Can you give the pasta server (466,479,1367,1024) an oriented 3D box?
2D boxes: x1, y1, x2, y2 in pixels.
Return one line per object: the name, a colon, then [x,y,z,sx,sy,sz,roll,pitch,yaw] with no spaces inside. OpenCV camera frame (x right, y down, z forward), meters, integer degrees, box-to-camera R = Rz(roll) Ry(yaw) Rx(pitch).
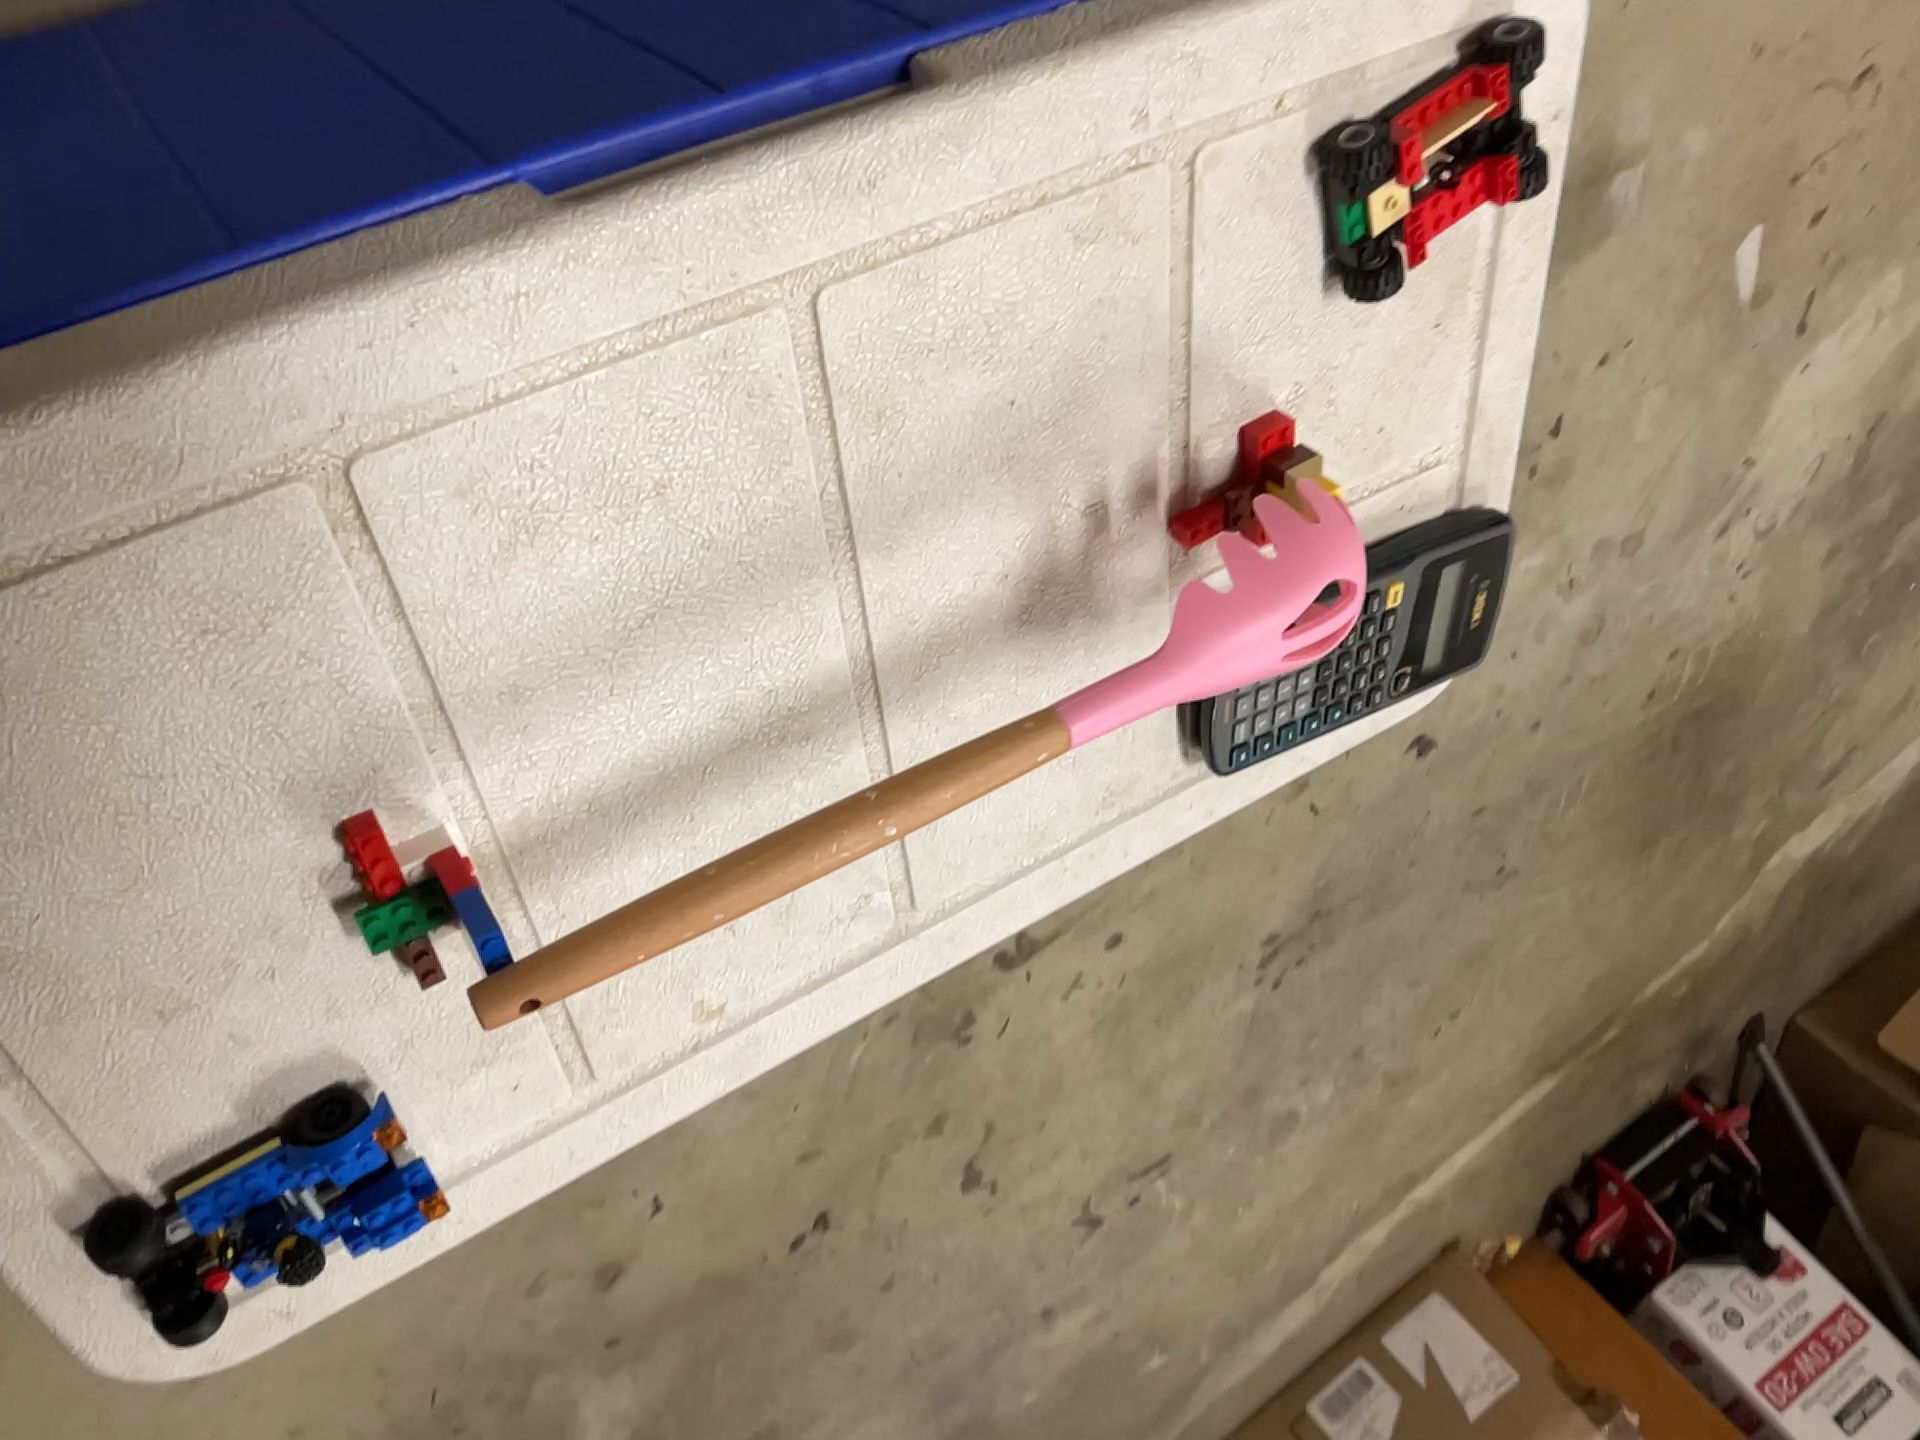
pasta server: [0.003,0.009,0.481,0.316,0.040,0.060,-25,136,-18]
